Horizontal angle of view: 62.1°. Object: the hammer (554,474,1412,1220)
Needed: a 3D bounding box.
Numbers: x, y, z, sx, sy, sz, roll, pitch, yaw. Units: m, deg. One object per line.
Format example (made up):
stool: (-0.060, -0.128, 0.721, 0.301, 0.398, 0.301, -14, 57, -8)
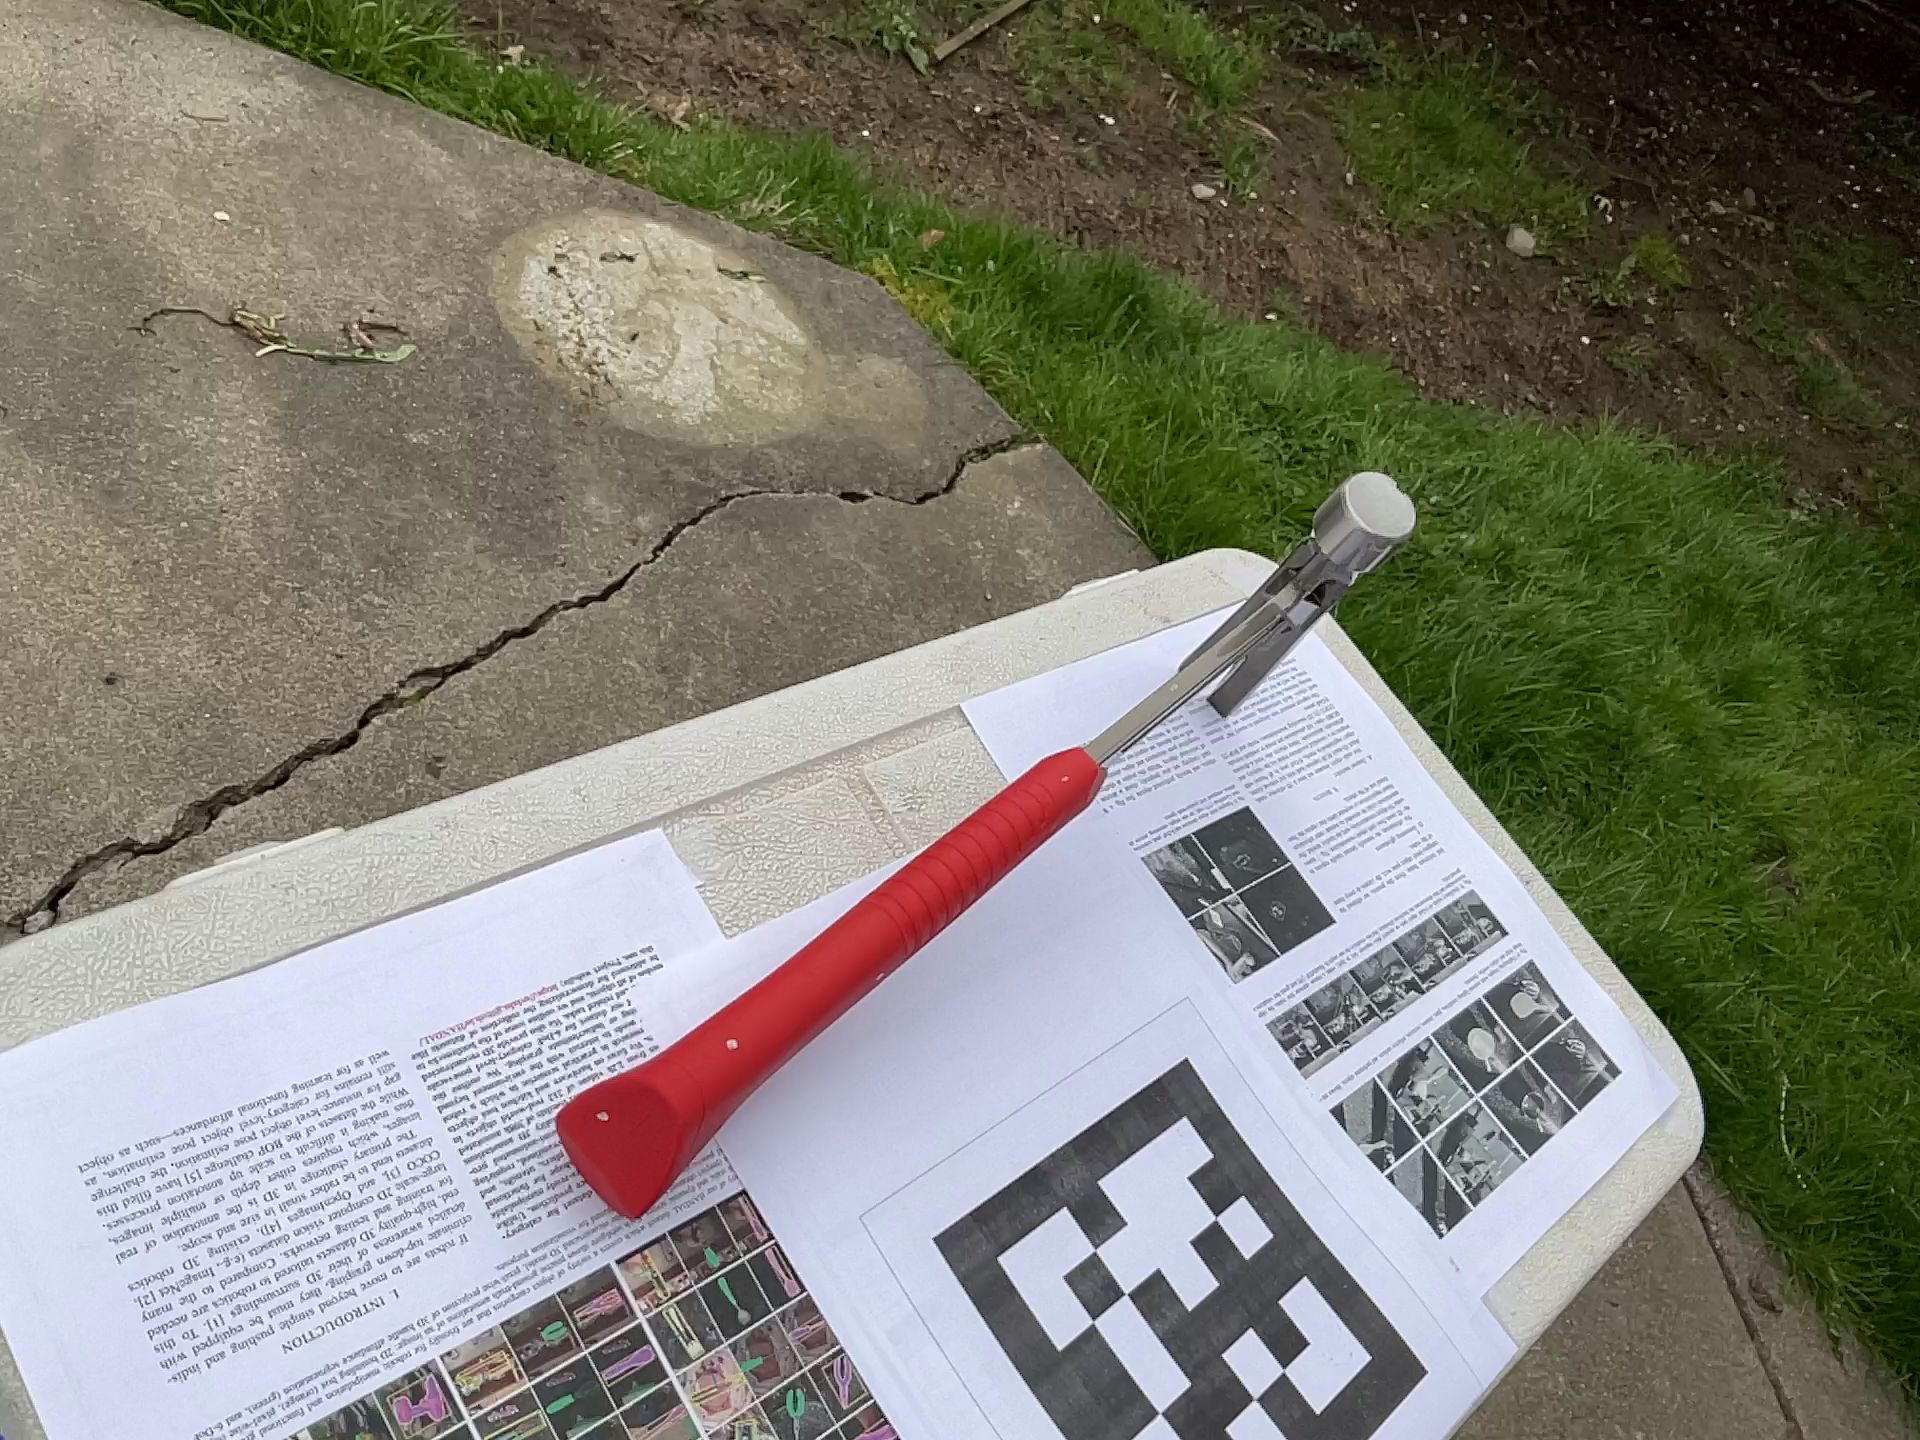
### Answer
hammer: (0.017, 0.038, 0.541, 0.359, 0.149, 0.037, -37, 80, -33)
